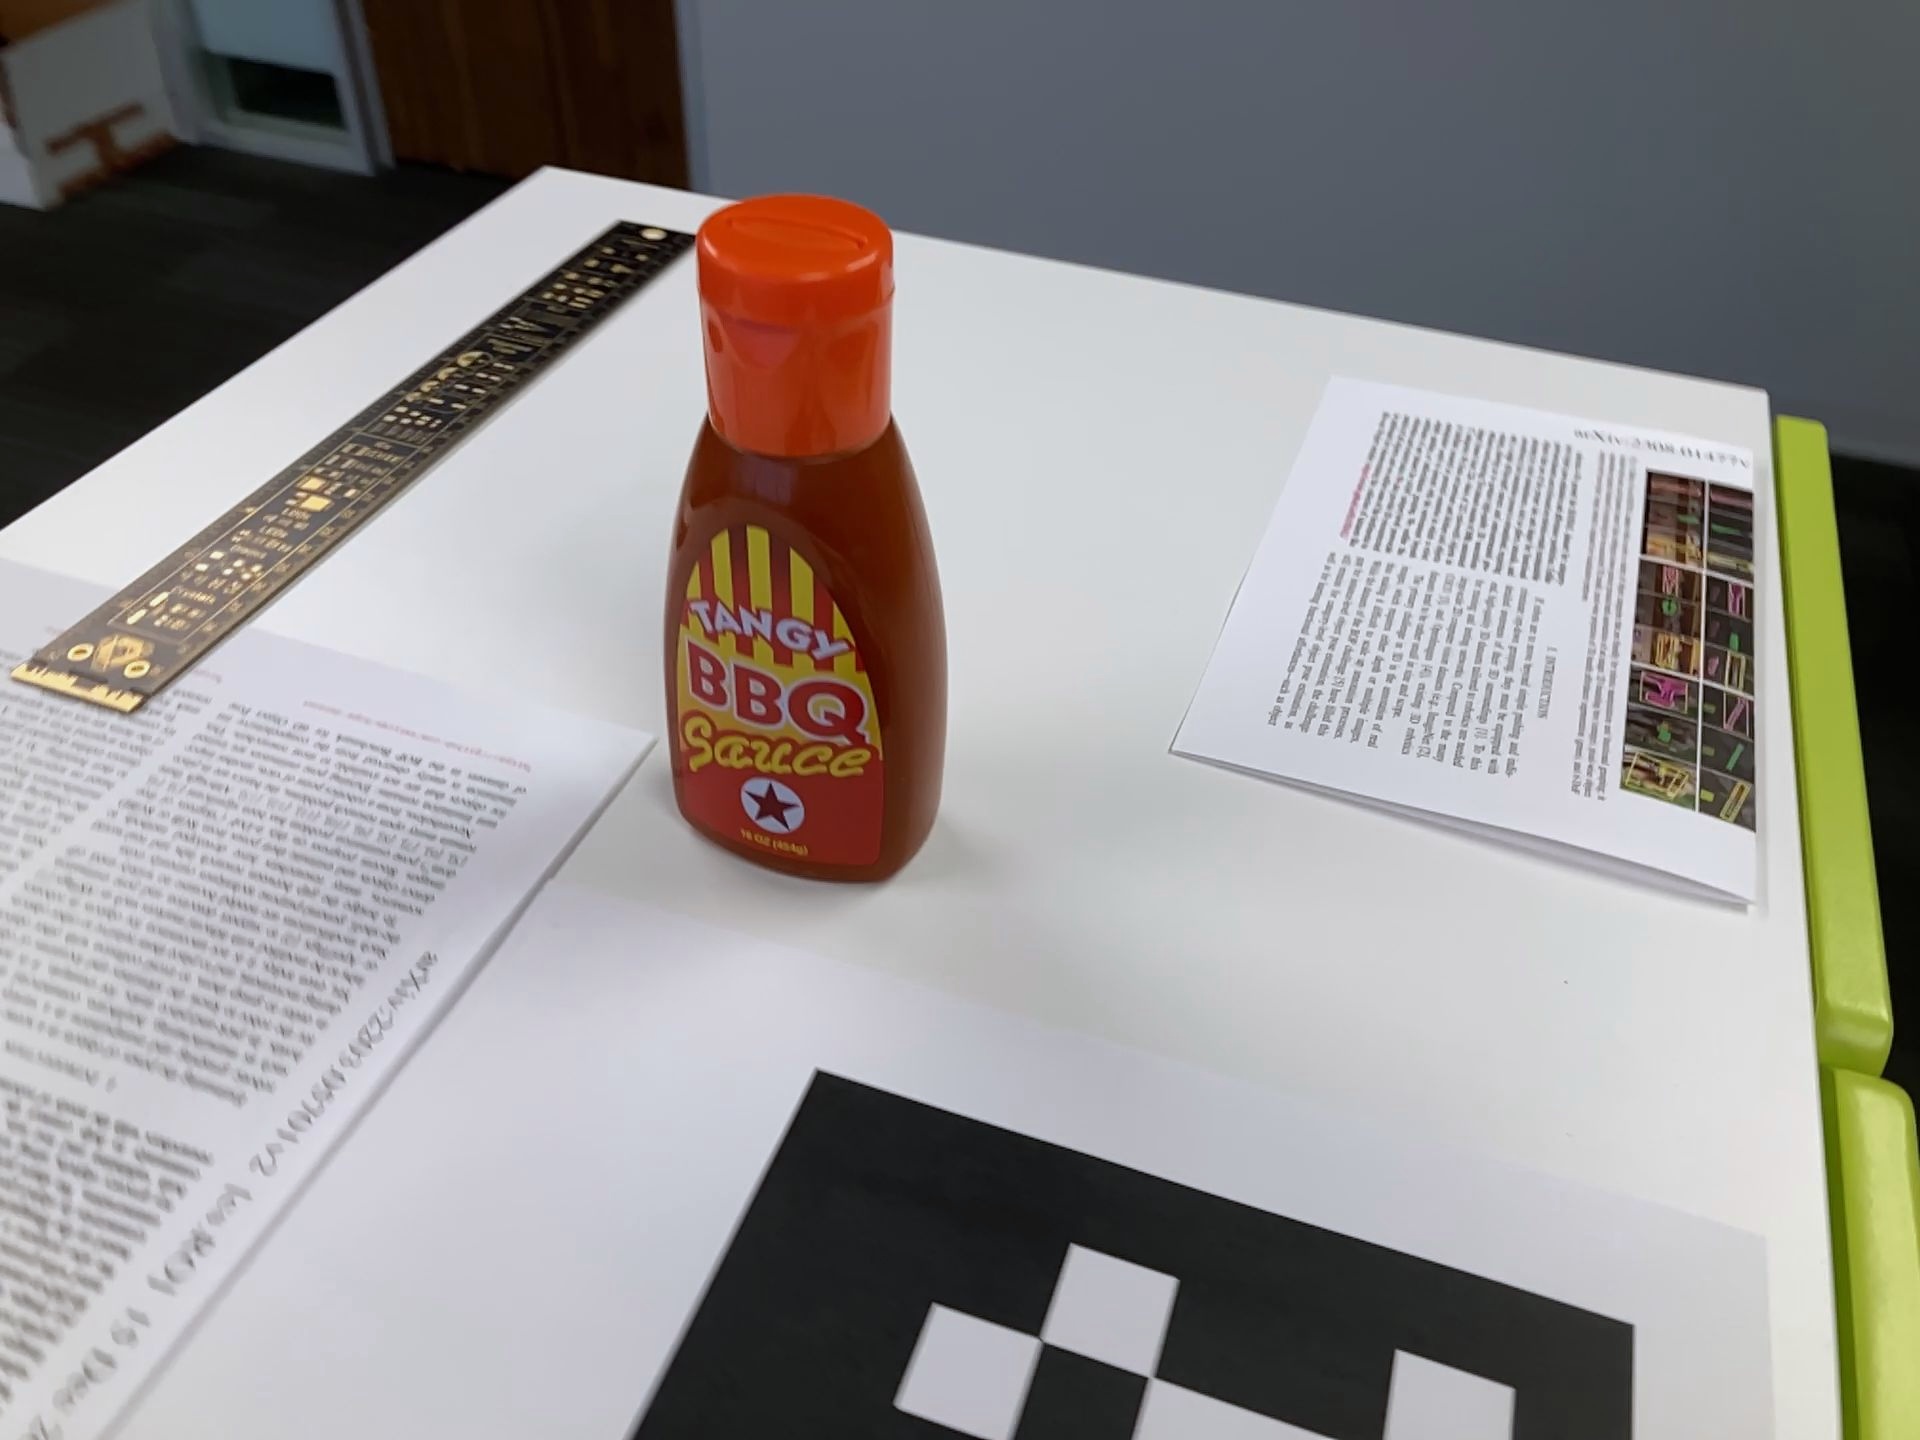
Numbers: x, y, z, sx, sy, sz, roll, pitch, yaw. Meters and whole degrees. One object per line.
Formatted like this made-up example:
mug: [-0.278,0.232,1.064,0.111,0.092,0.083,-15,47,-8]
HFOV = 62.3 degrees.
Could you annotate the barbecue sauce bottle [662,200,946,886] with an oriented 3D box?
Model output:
barbecue sauce bottle: [-0.034,-0.033,0.339,0.065,0.148,0.043,16,41,14]
